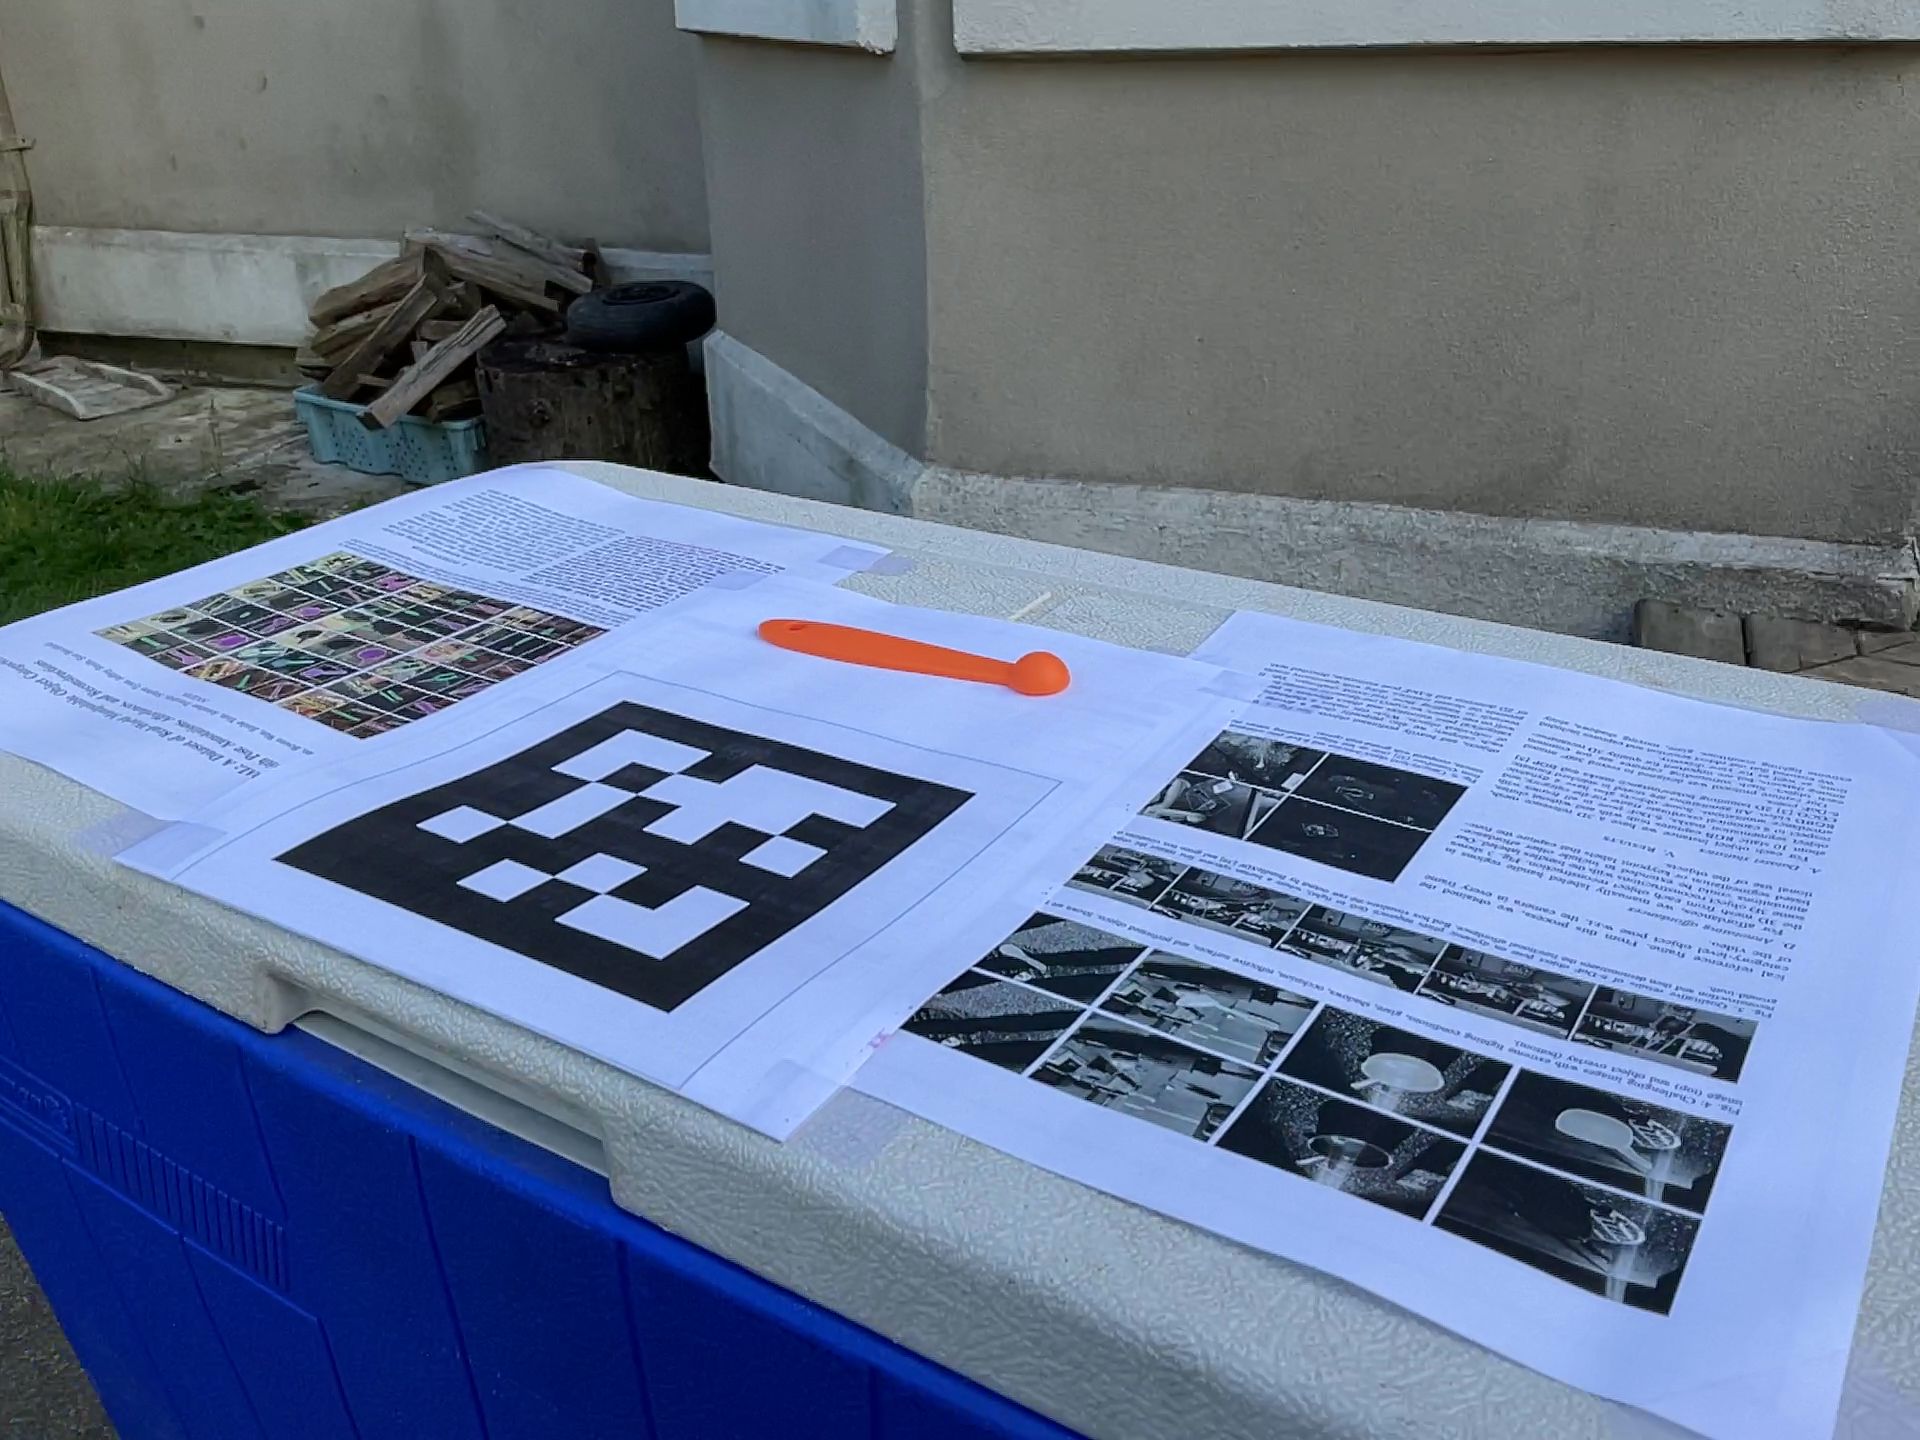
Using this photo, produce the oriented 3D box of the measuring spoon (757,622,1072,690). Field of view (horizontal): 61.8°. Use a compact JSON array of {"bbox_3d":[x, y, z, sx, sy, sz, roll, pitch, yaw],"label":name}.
[{"bbox_3d":[-0.018,-0.025,0.525,0.117,0.011,0.021,11,23,27],"label":"measuring spoon"}]
